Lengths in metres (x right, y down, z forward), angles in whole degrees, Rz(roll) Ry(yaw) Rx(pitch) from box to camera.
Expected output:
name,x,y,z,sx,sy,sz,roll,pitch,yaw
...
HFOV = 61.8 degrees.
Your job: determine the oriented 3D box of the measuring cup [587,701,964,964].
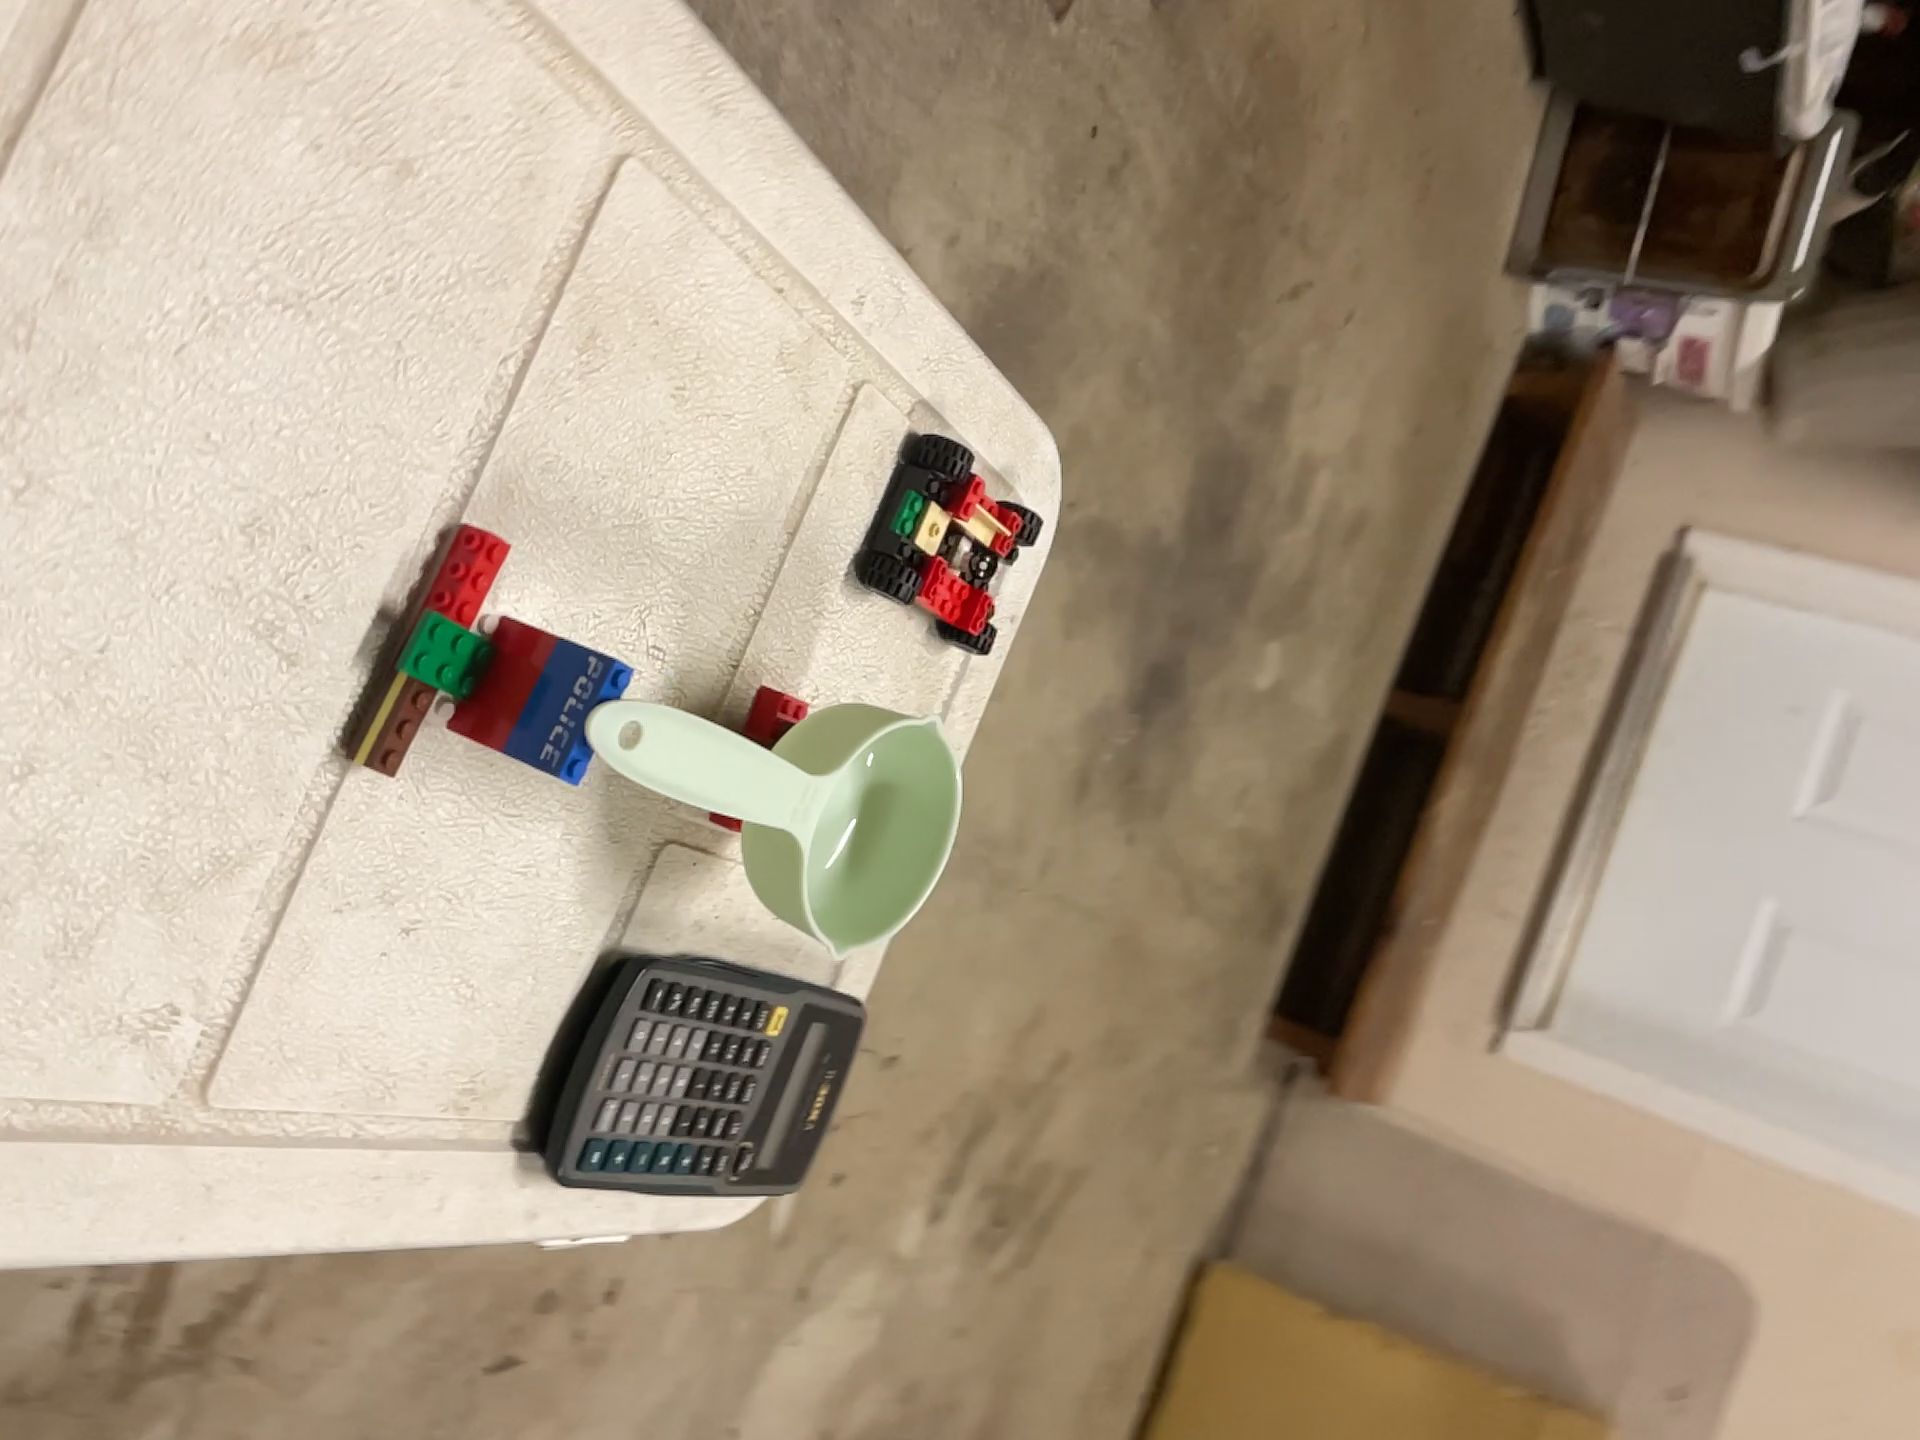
name,x,y,z,sx,sy,sz,roll,pitch,yaw
measuring cup,-0.058,0.020,0.463,0.167,0.038,0.083,26,85,-56
